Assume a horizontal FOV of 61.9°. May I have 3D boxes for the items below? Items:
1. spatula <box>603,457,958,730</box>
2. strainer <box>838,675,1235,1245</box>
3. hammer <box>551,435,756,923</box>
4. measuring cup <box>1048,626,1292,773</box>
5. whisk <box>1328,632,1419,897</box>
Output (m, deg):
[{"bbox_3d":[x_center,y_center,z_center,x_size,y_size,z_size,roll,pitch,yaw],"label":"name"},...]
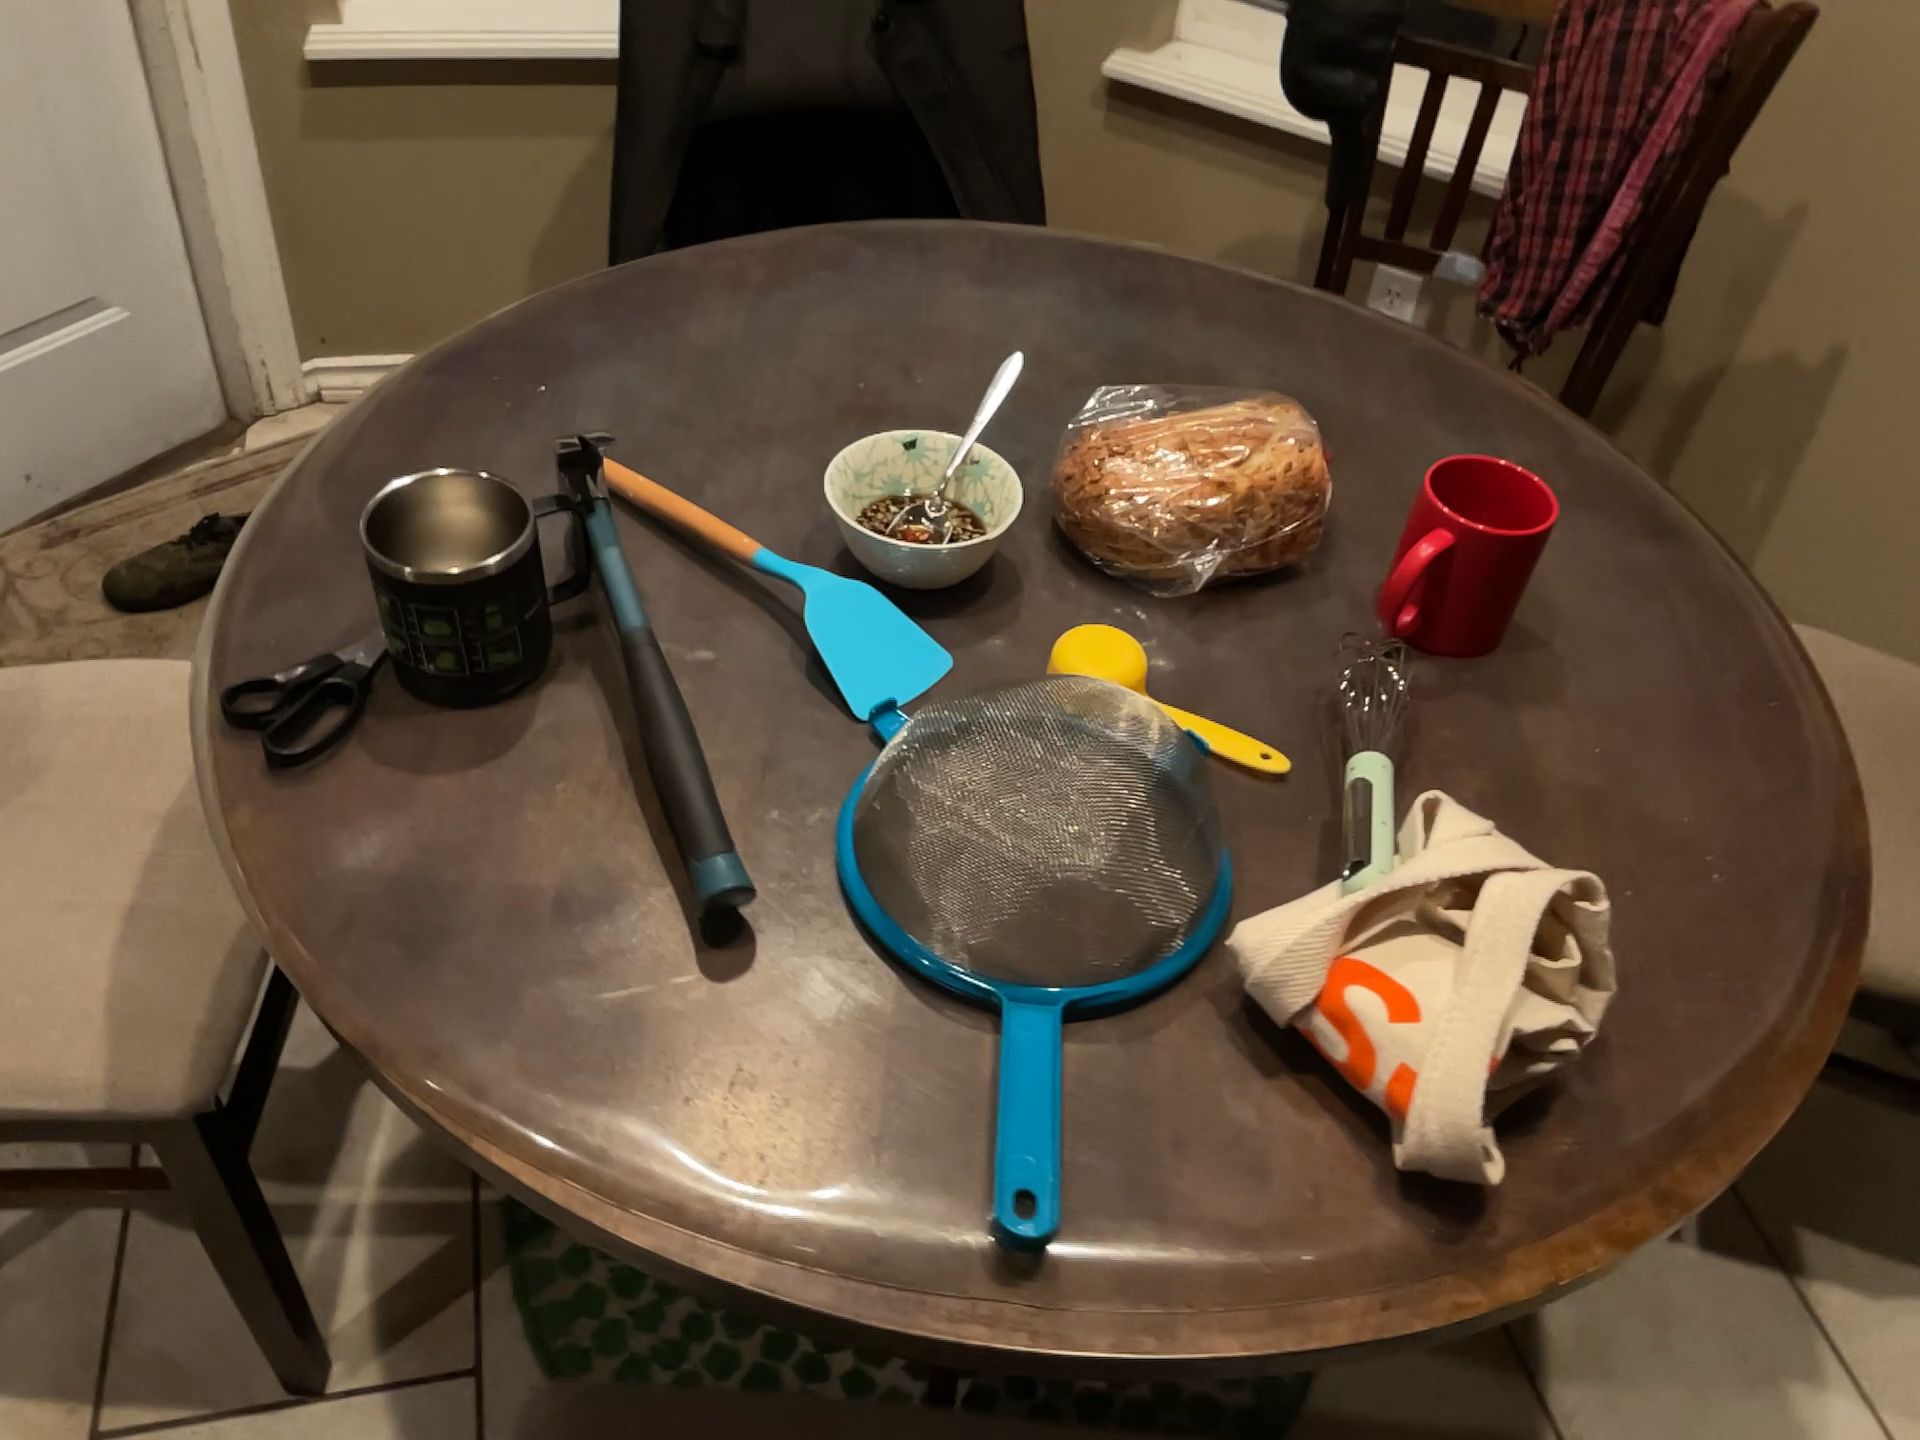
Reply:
[{"bbox_3d":[-0.141,-0.098,1.001,0.317,0.044,0.082,32,49,30],"label":"spatula"},{"bbox_3d":[0.041,0.082,0.777,0.211,0.095,0.341,5,39,-1],"label":"strainer"},{"bbox_3d":[-0.173,-0.029,0.875,0.033,0.128,0.331,-14,56,-17],"label":"hammer"},{"bbox_3d":[0.124,-0.012,0.933,0.156,0.029,0.062,26,46,21],"label":"measuring cup"},{"bbox_3d":[0.225,0.022,0.875,0.059,0.057,0.246,37,33,-12],"label":"whisk"}]
